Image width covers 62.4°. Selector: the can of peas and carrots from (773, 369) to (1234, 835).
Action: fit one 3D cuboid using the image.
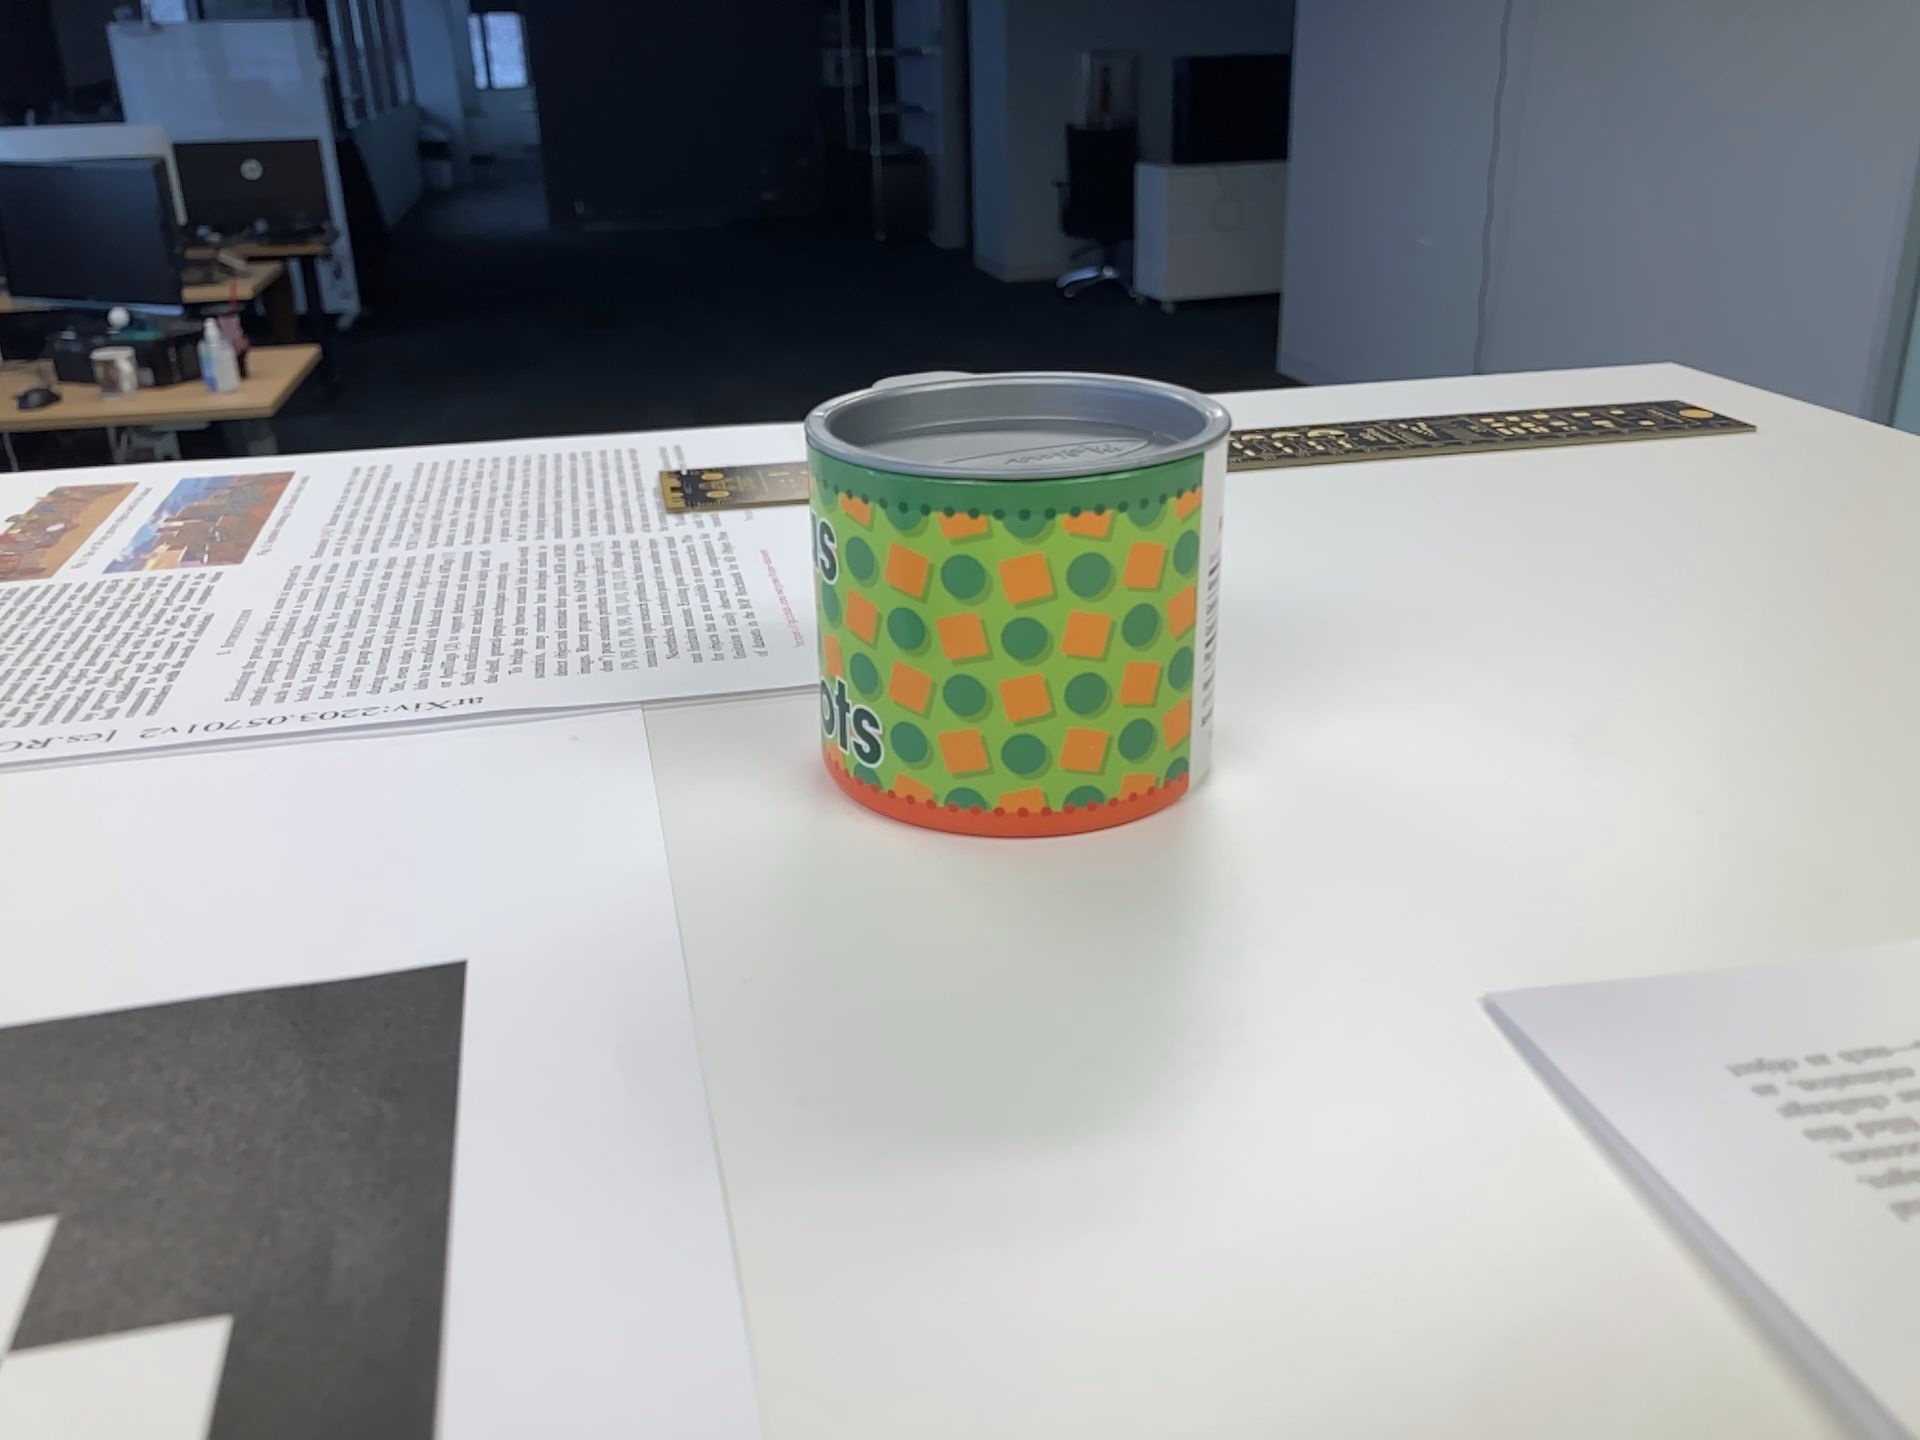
[{"bbox_3d":[0.007,-0.021,0.256,0.071,0.059,0.071,-1,23,0],"label":"can of peas and carrots"}]
